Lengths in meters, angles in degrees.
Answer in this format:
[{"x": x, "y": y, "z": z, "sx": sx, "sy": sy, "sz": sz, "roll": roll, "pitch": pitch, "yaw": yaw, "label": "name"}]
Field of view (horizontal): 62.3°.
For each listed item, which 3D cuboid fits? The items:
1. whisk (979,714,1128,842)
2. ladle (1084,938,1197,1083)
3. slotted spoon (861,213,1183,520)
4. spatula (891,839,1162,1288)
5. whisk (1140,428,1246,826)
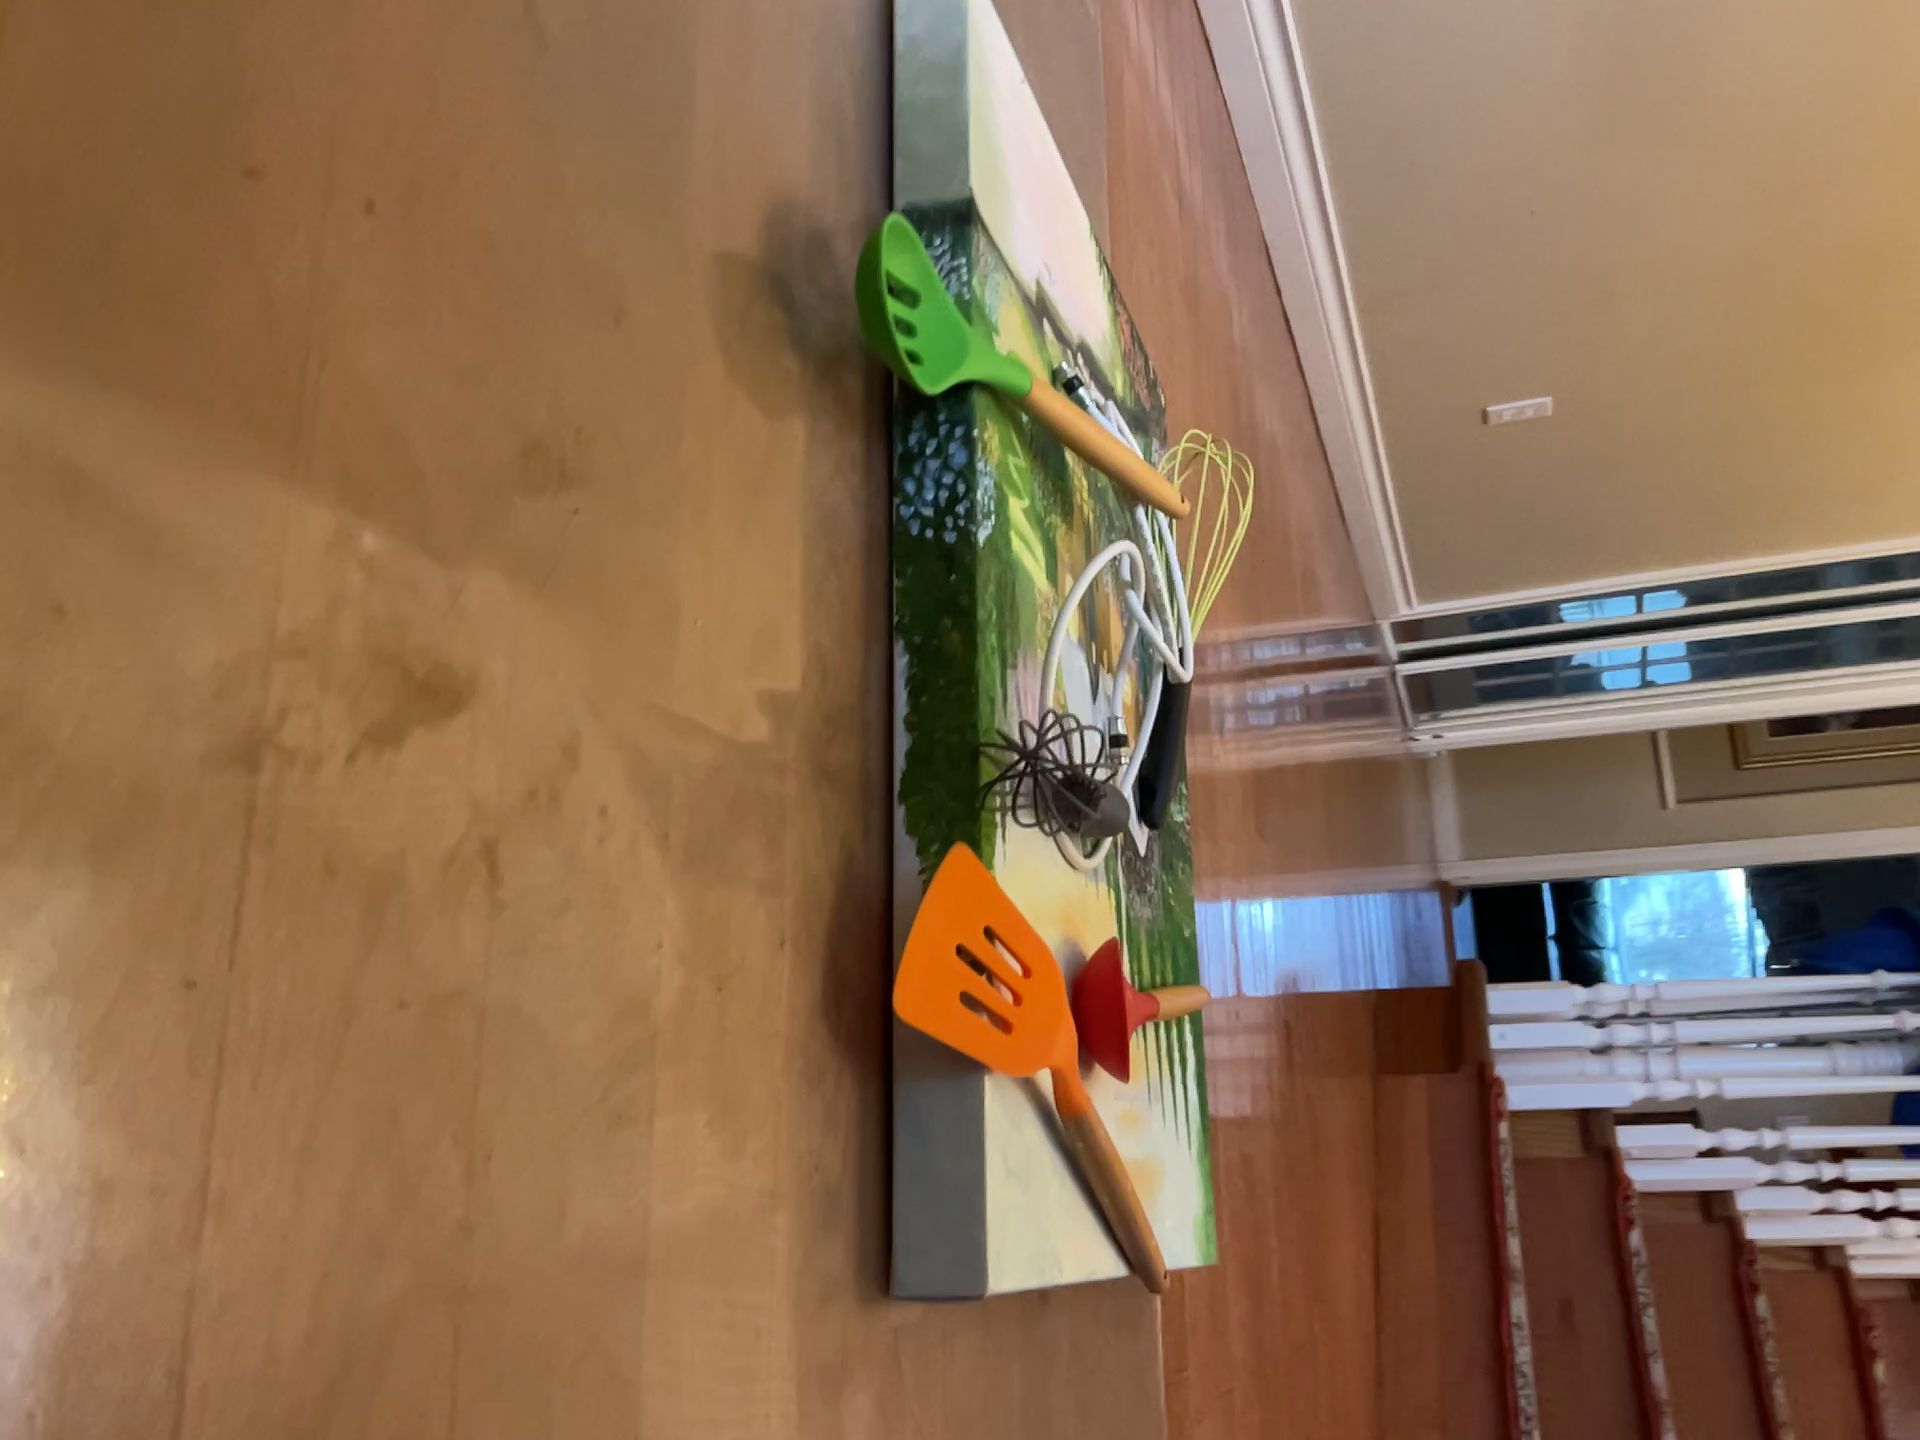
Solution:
[{"x": 0.055, "y": 0.034, "z": 0.727, "sx": 0.238, "sy": 0.055, "sz": 0.055, "roll": 33, "pitch": 63, "yaw": -75, "label": "whisk"}, {"x": 0.108, "y": 0.156, "z": 0.877, "sx": 0.315, "sy": 0.031, "sz": 0.069, "roll": 27, "pitch": 60, "yaw": -72, "label": "ladle"}, {"x": 0.039, "y": -0.148, "z": 0.755, "sx": 0.313, "sy": 0.031, "sz": 0.070, "roll": 22, "pitch": 62, "yaw": -57, "label": "slotted spoon"}, {"x": 0.046, "y": 0.179, "z": 0.706, "sx": 0.322, "sy": 0.041, "sz": 0.081, "roll": 67, "pitch": 35, "yaw": -44, "label": "spatula"}, {"x": 0.141, "y": -0.068, "z": 1.029, "sx": 0.079, "sy": 0.067, "sz": 0.312, "roll": 53, "pitch": 40, "yaw": -47, "label": "whisk"}]
